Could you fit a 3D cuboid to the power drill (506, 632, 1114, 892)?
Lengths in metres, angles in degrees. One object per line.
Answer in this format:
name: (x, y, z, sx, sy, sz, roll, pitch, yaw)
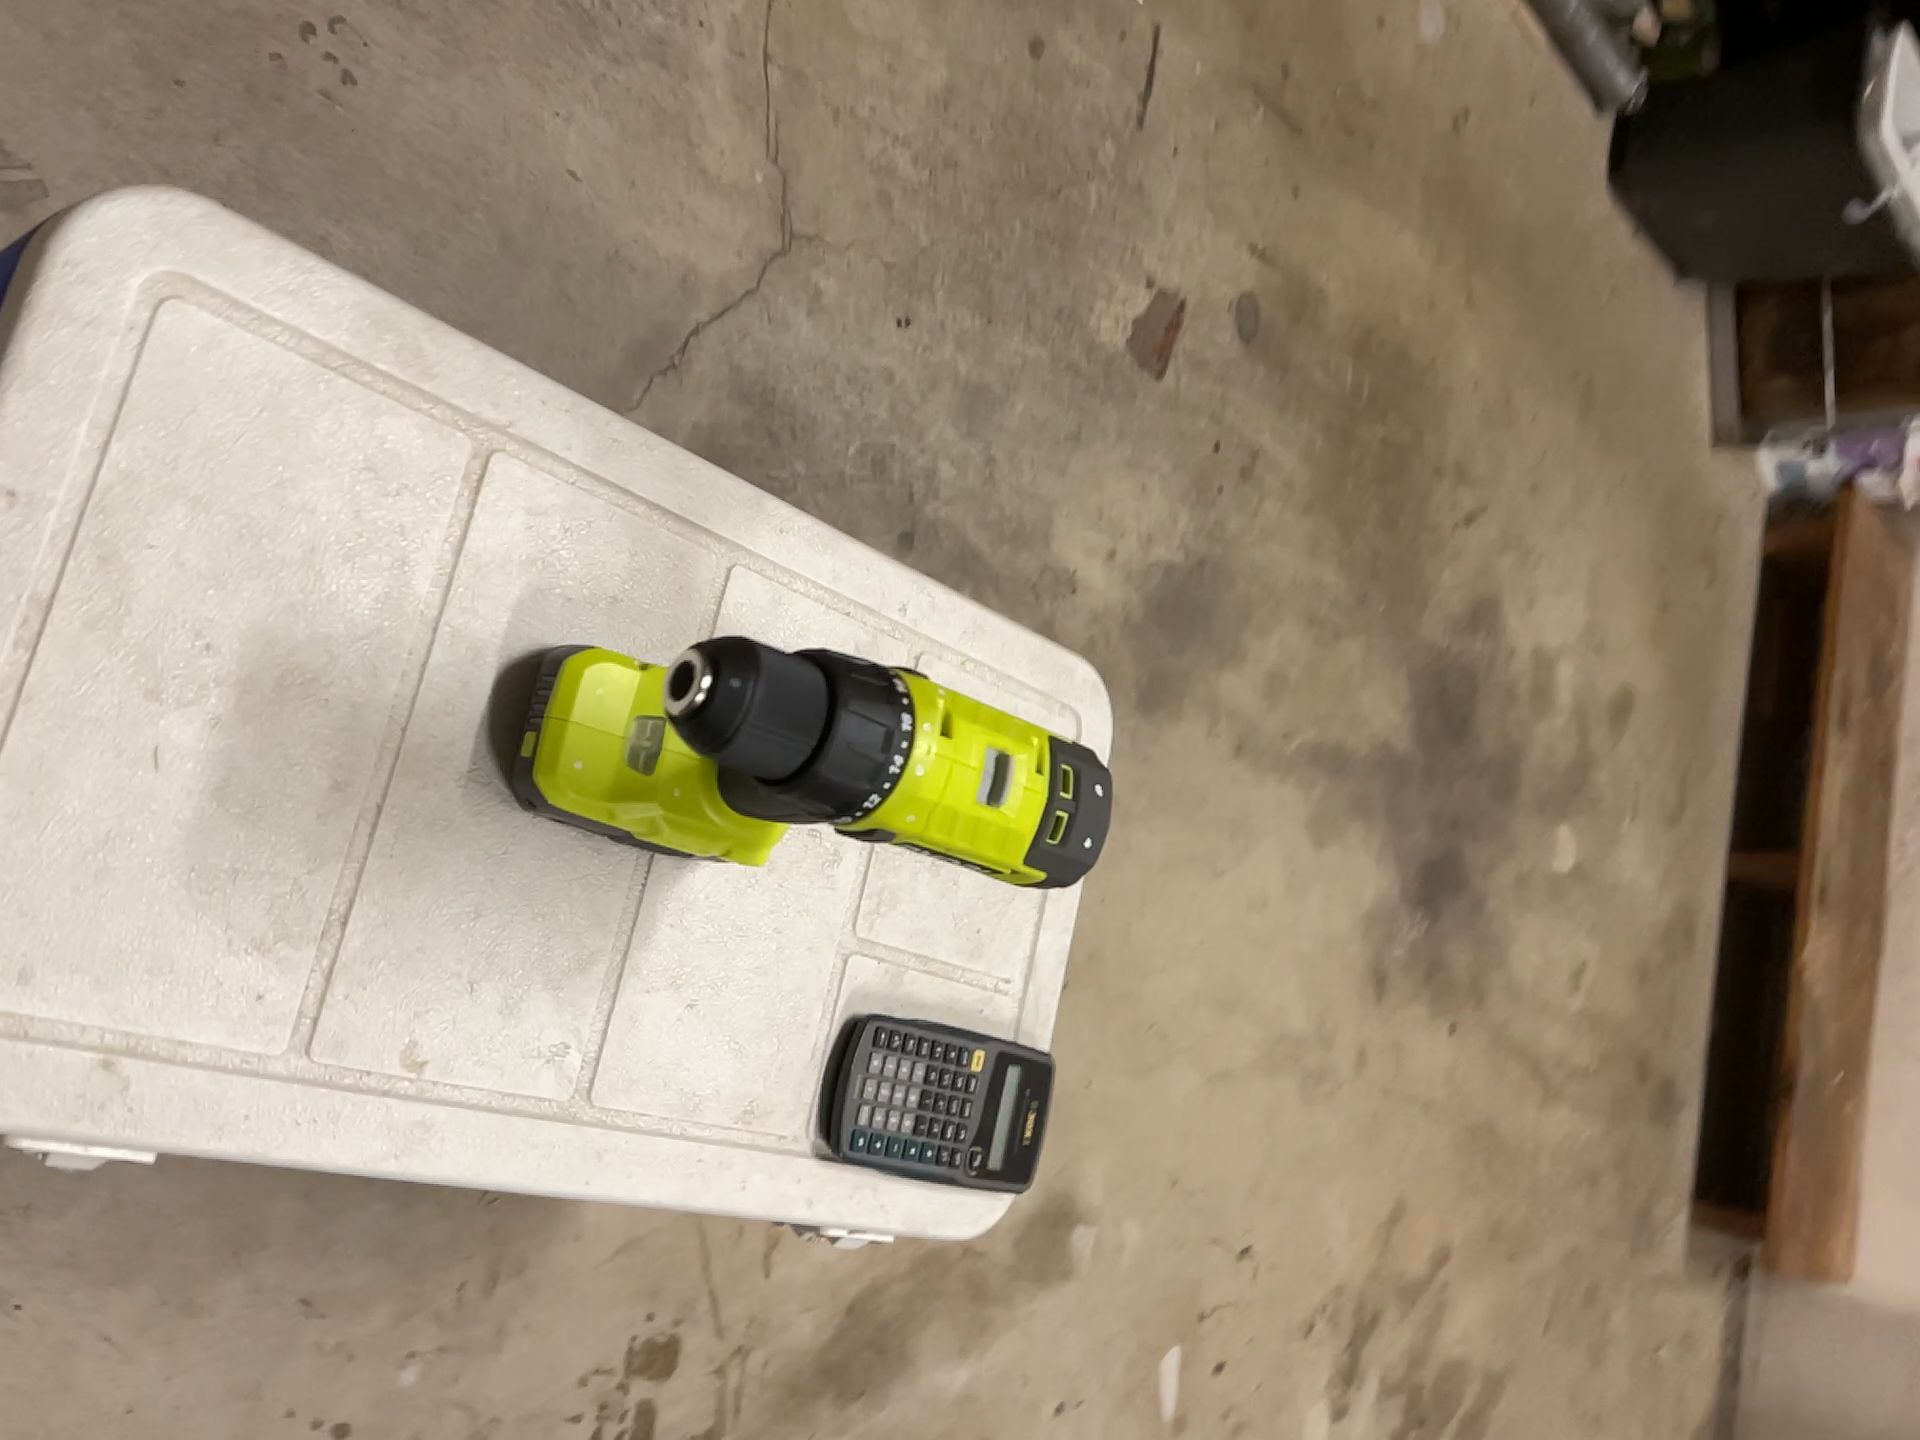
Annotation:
power drill: (-0.079, 0.013, 0.625, 0.190, 0.228, 0.080, 22, 75, -41)
